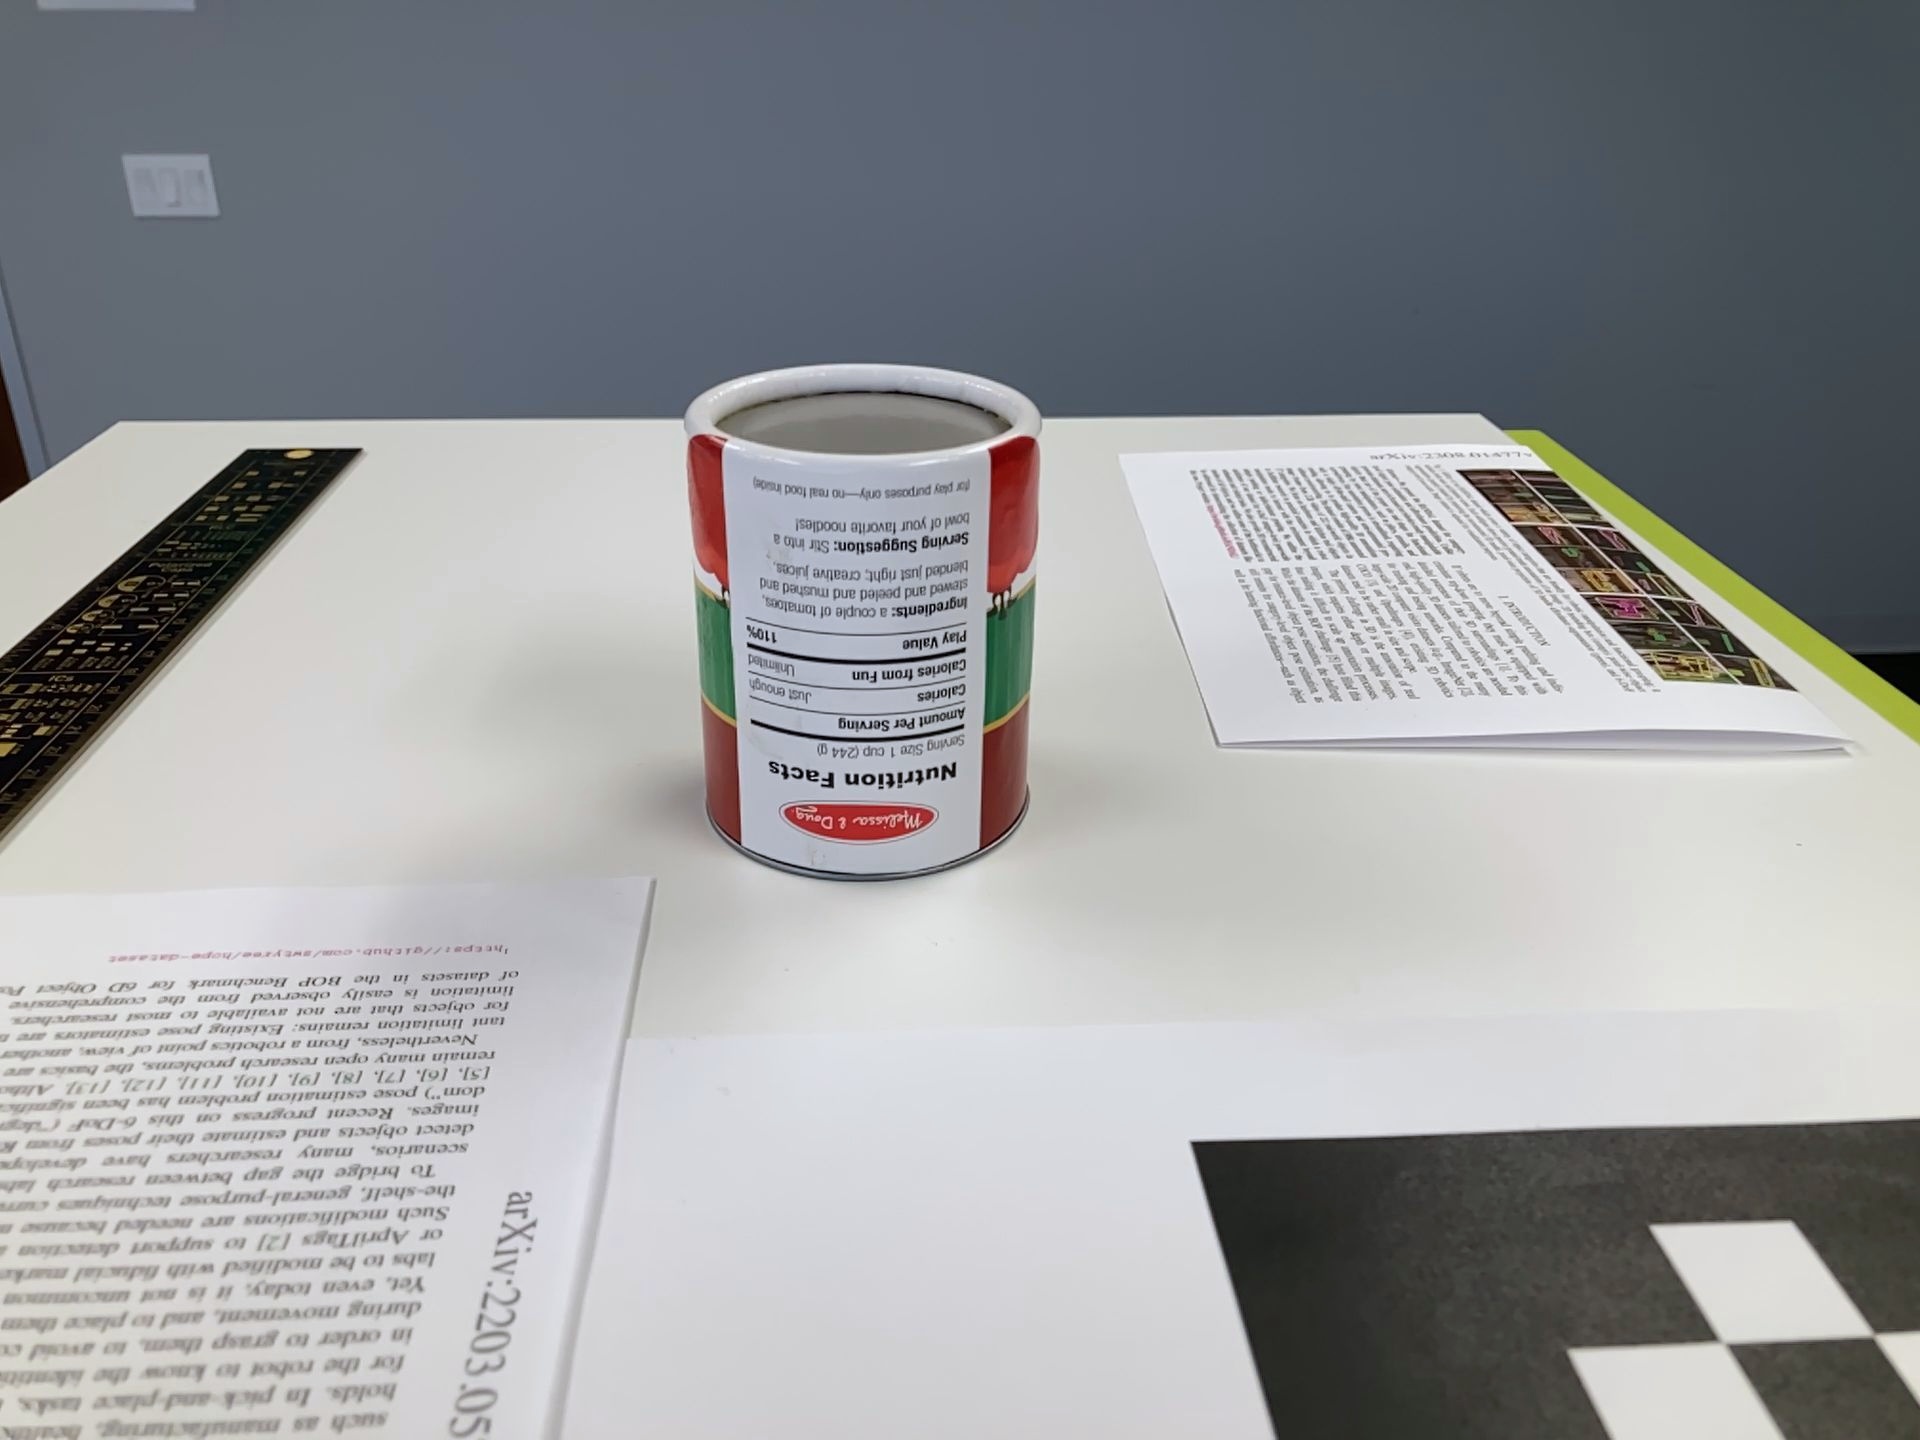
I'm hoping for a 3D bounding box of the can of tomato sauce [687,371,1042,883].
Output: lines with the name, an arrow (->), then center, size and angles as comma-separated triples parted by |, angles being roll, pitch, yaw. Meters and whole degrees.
can of tomato sauce -> -0.017, -0.021, 0.314 | 0.071, 0.083, 0.071 | -1, 26, 1
